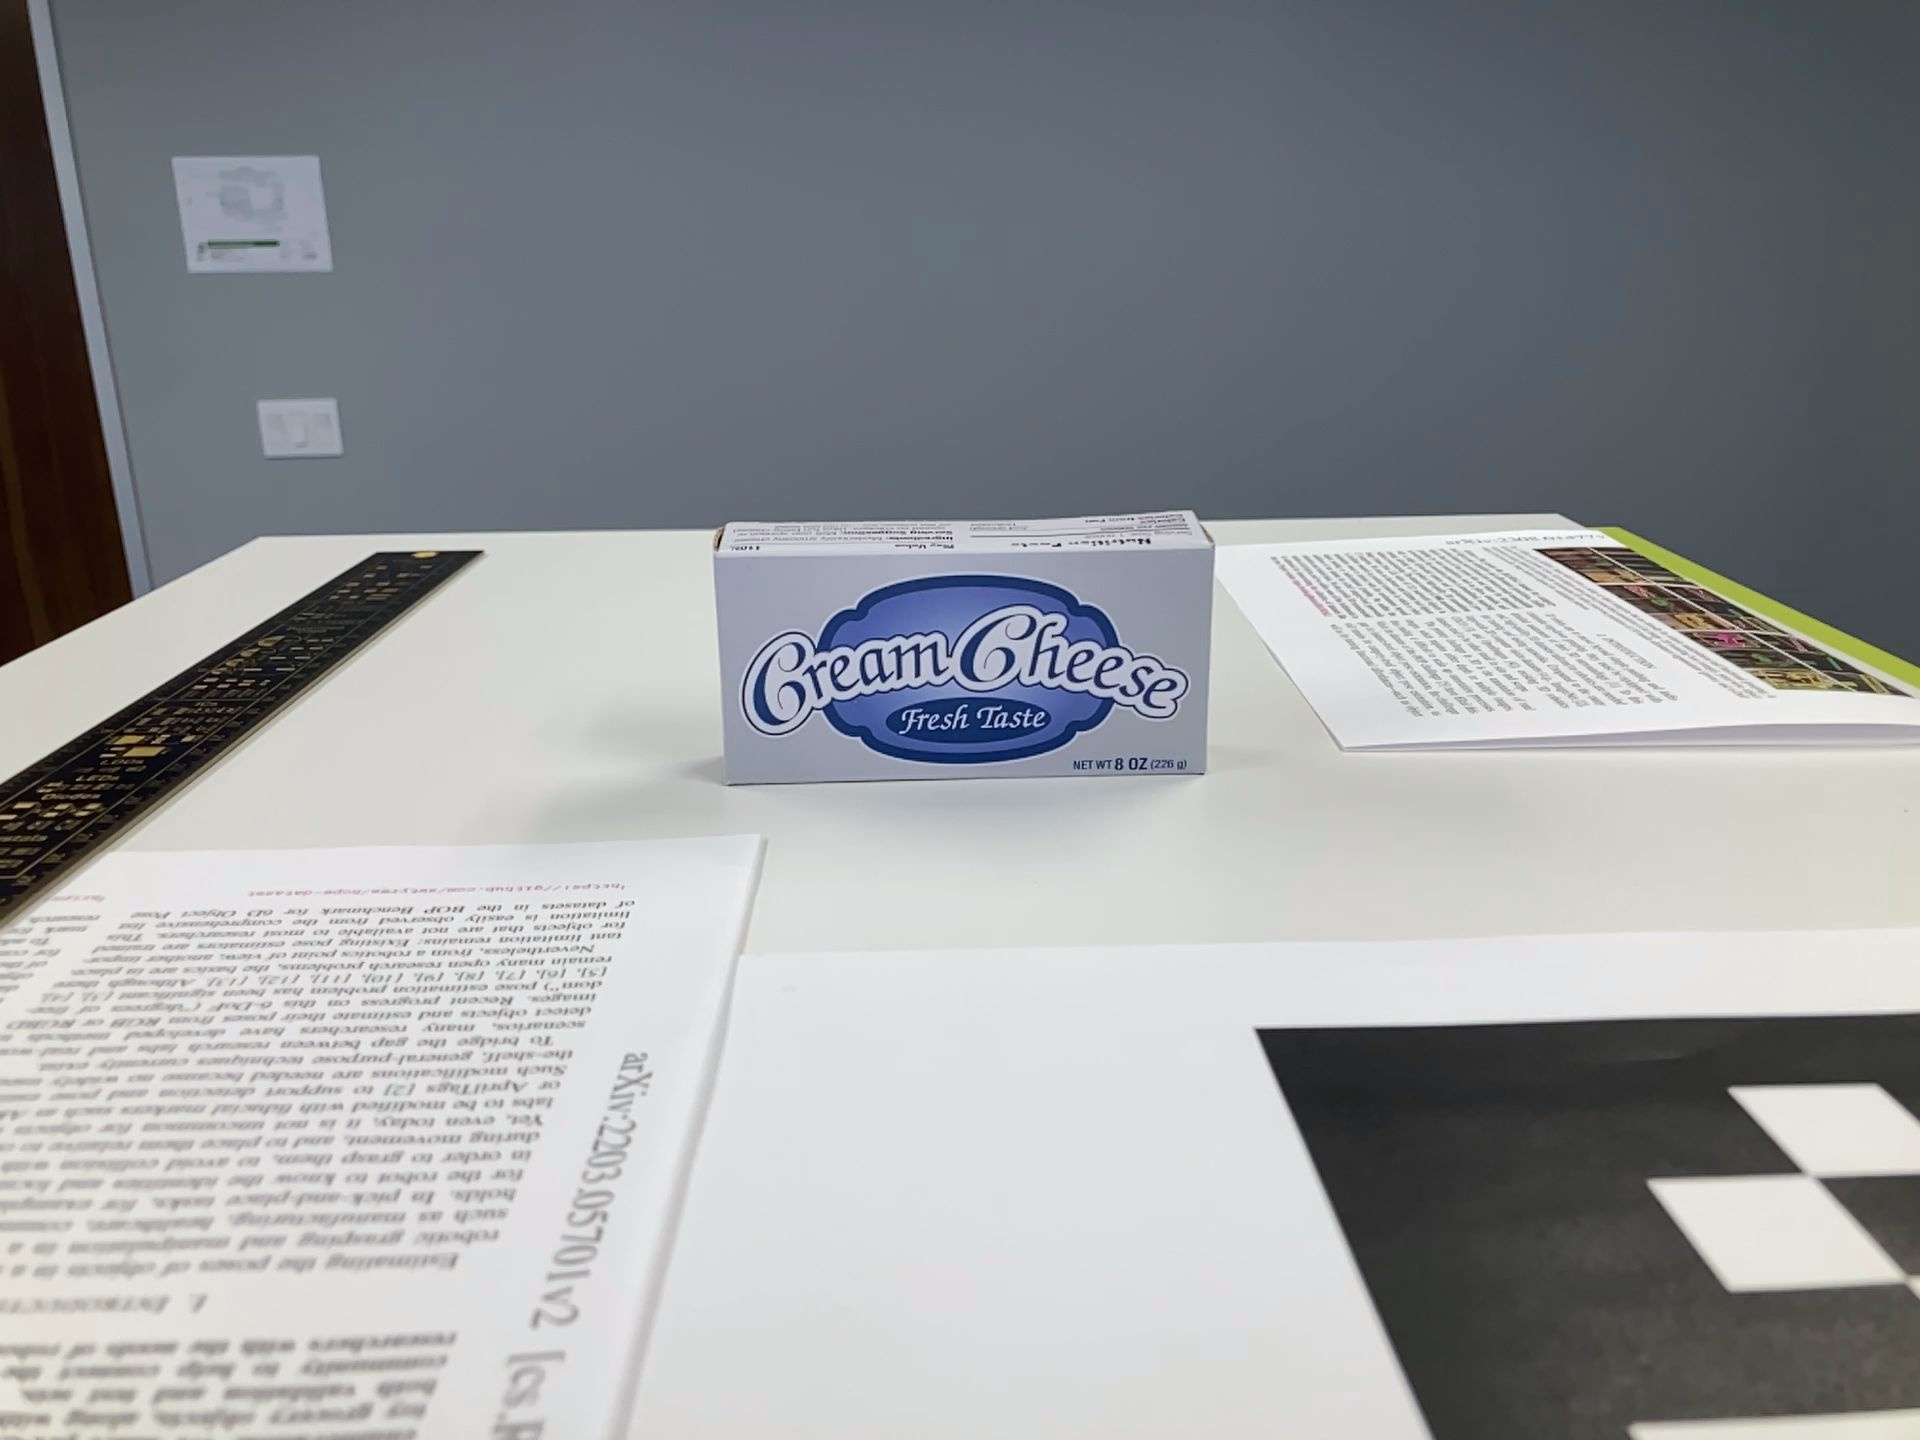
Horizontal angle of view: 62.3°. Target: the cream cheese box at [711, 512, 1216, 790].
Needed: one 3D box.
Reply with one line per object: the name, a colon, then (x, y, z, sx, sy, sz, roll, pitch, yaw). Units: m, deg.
cream cheese box: (0.000, -0.015, 0.336, 0.104, 0.053, 0.024, -2, 20, -2)
